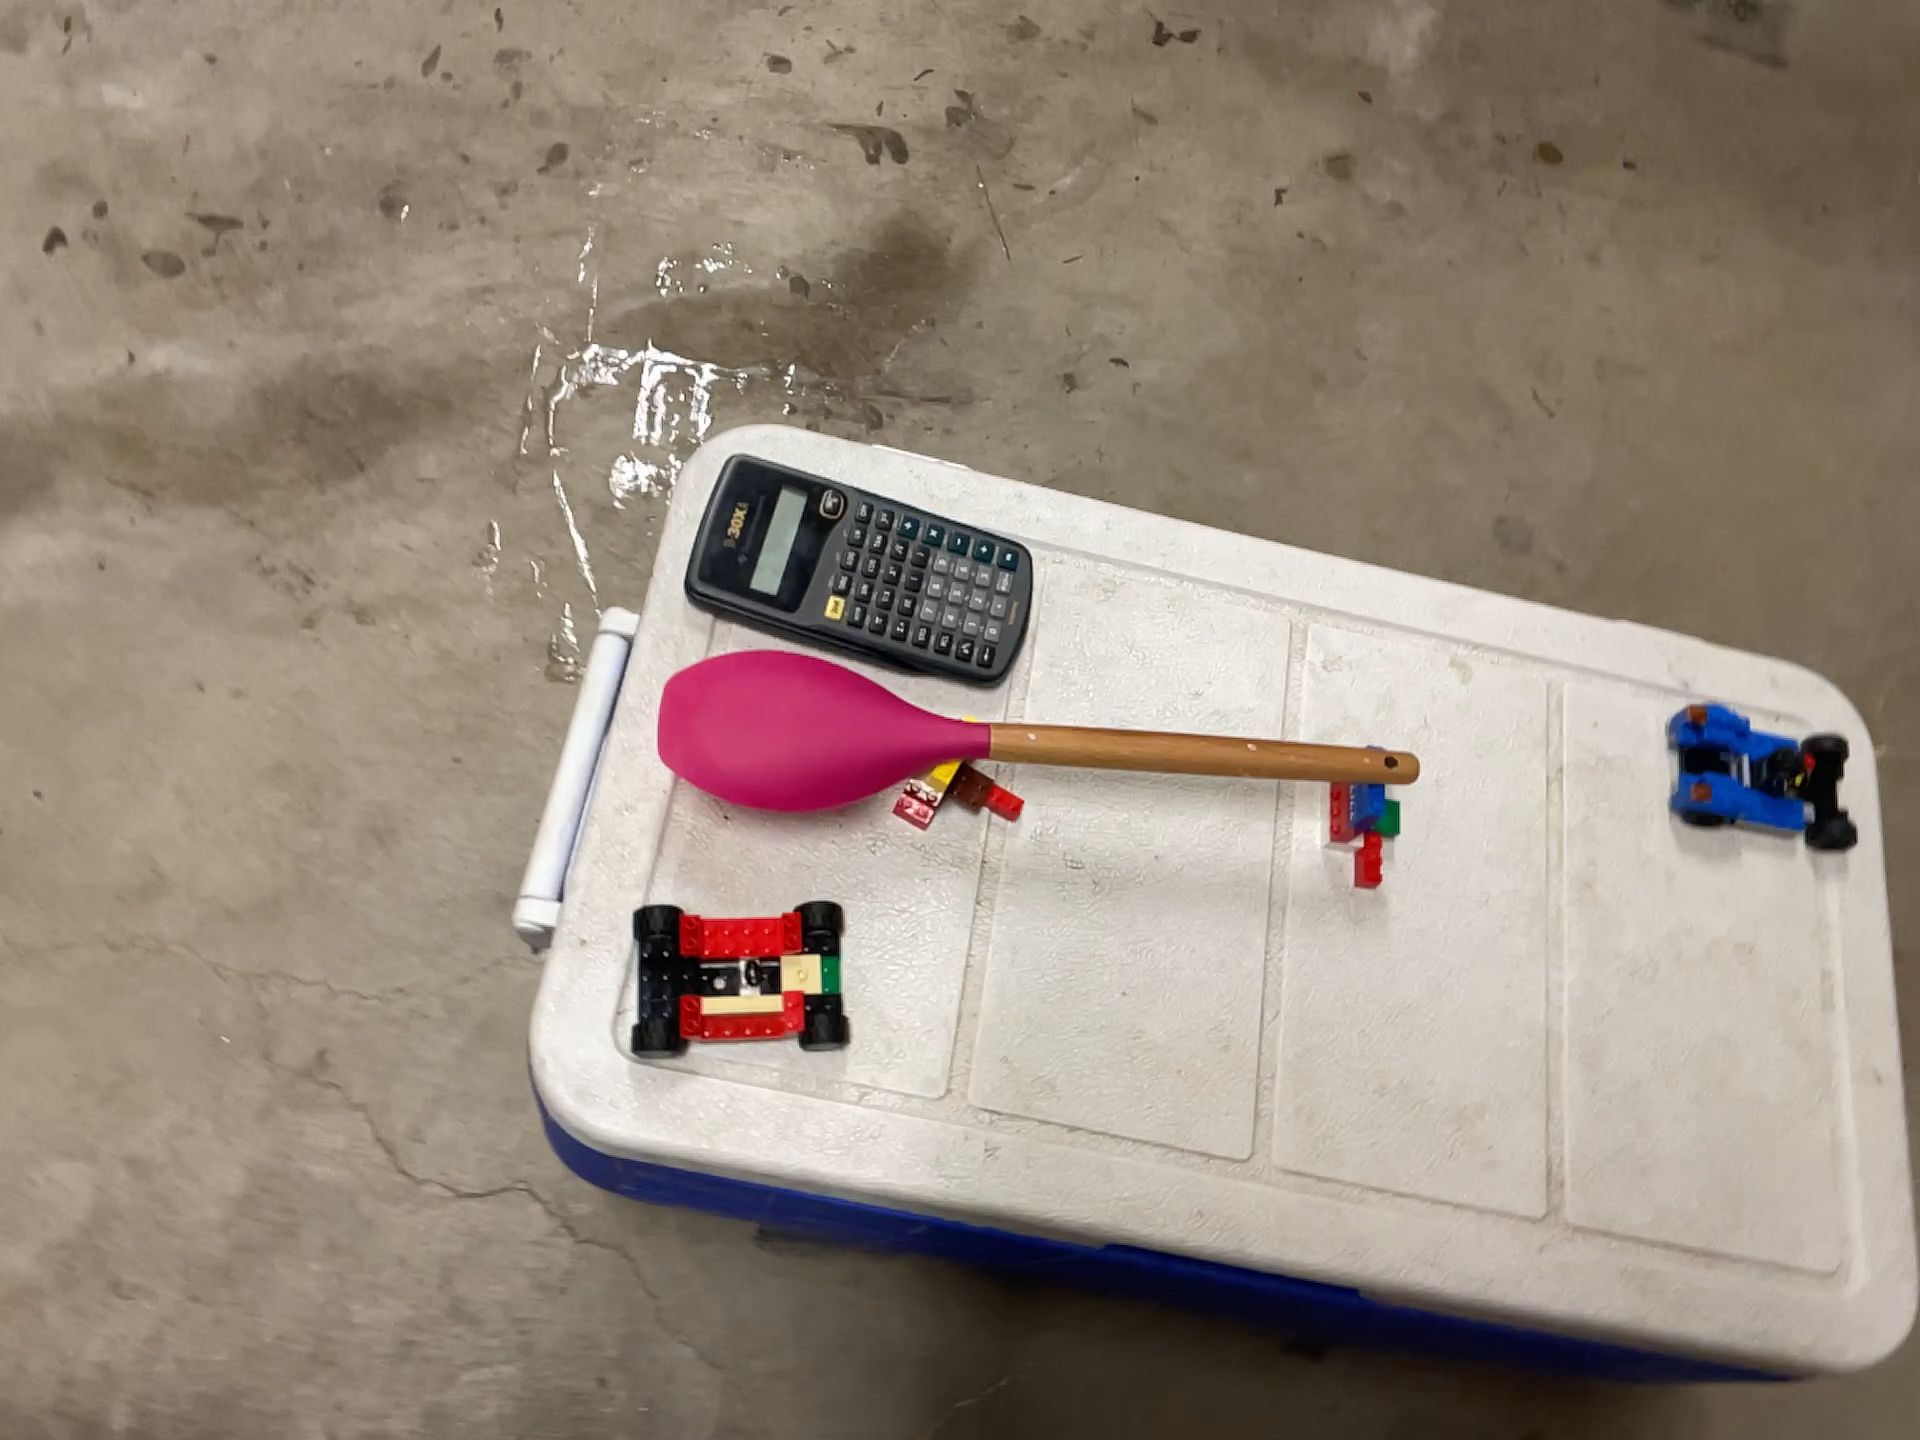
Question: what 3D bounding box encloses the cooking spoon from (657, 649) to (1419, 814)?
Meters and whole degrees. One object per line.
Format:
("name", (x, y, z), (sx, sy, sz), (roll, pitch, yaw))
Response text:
("cooking spoon", (0.037, 0.010, 0.660), (0.319, 0.017, 0.069), (4, 72, -9))
